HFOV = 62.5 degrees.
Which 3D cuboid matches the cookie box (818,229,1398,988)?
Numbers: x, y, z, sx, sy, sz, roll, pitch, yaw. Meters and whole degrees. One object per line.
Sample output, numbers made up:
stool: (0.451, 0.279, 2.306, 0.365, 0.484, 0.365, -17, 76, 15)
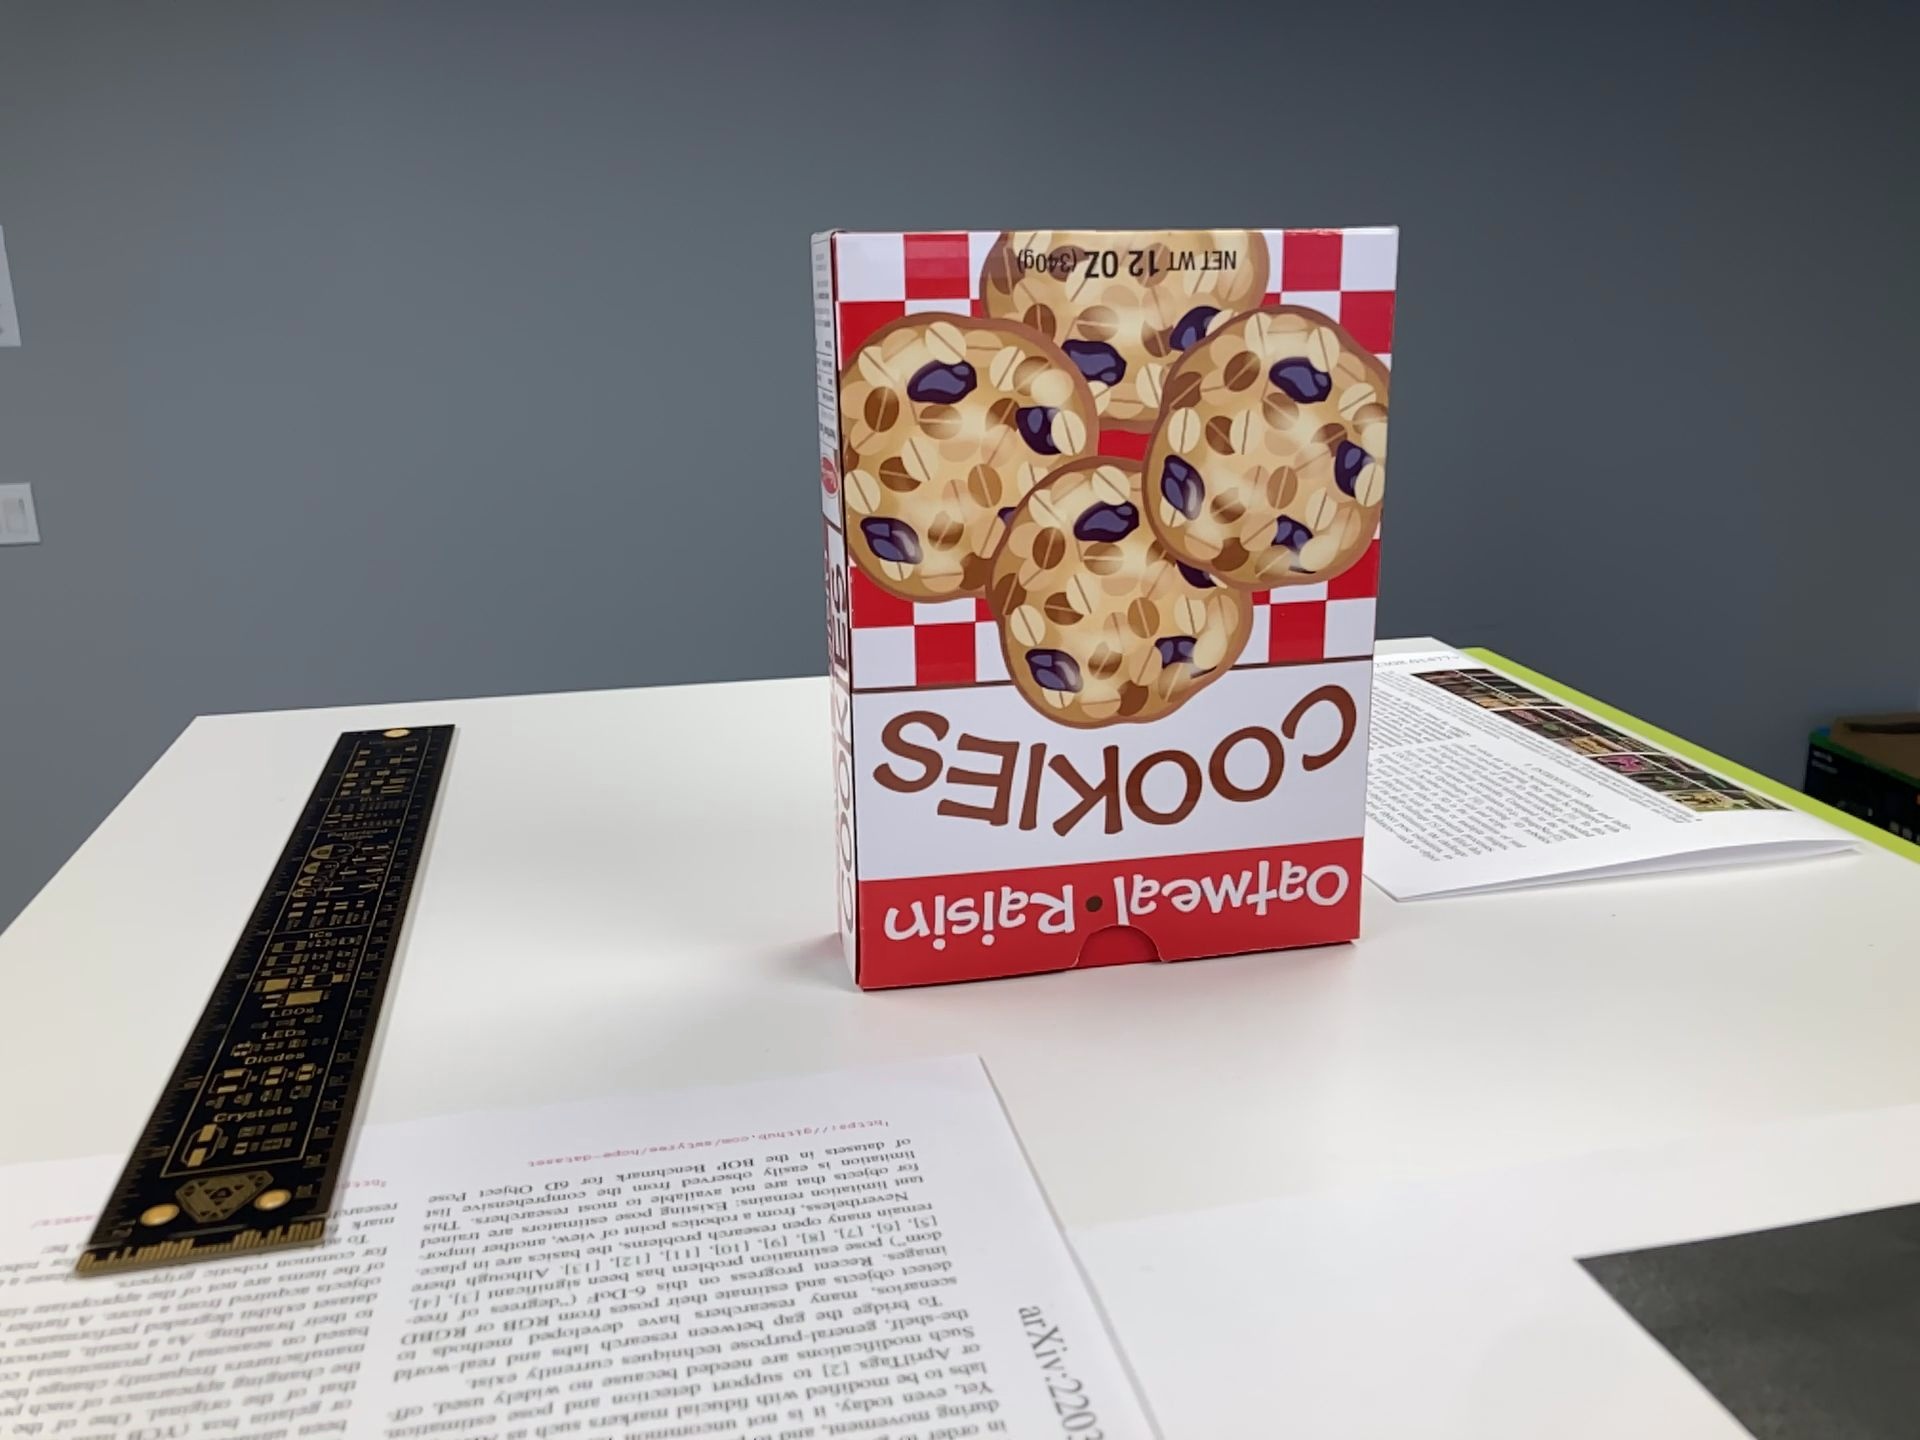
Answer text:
cookie box: (0.032, -0.026, 0.367, 0.123, 0.167, 0.040, -3, 15, -11)
